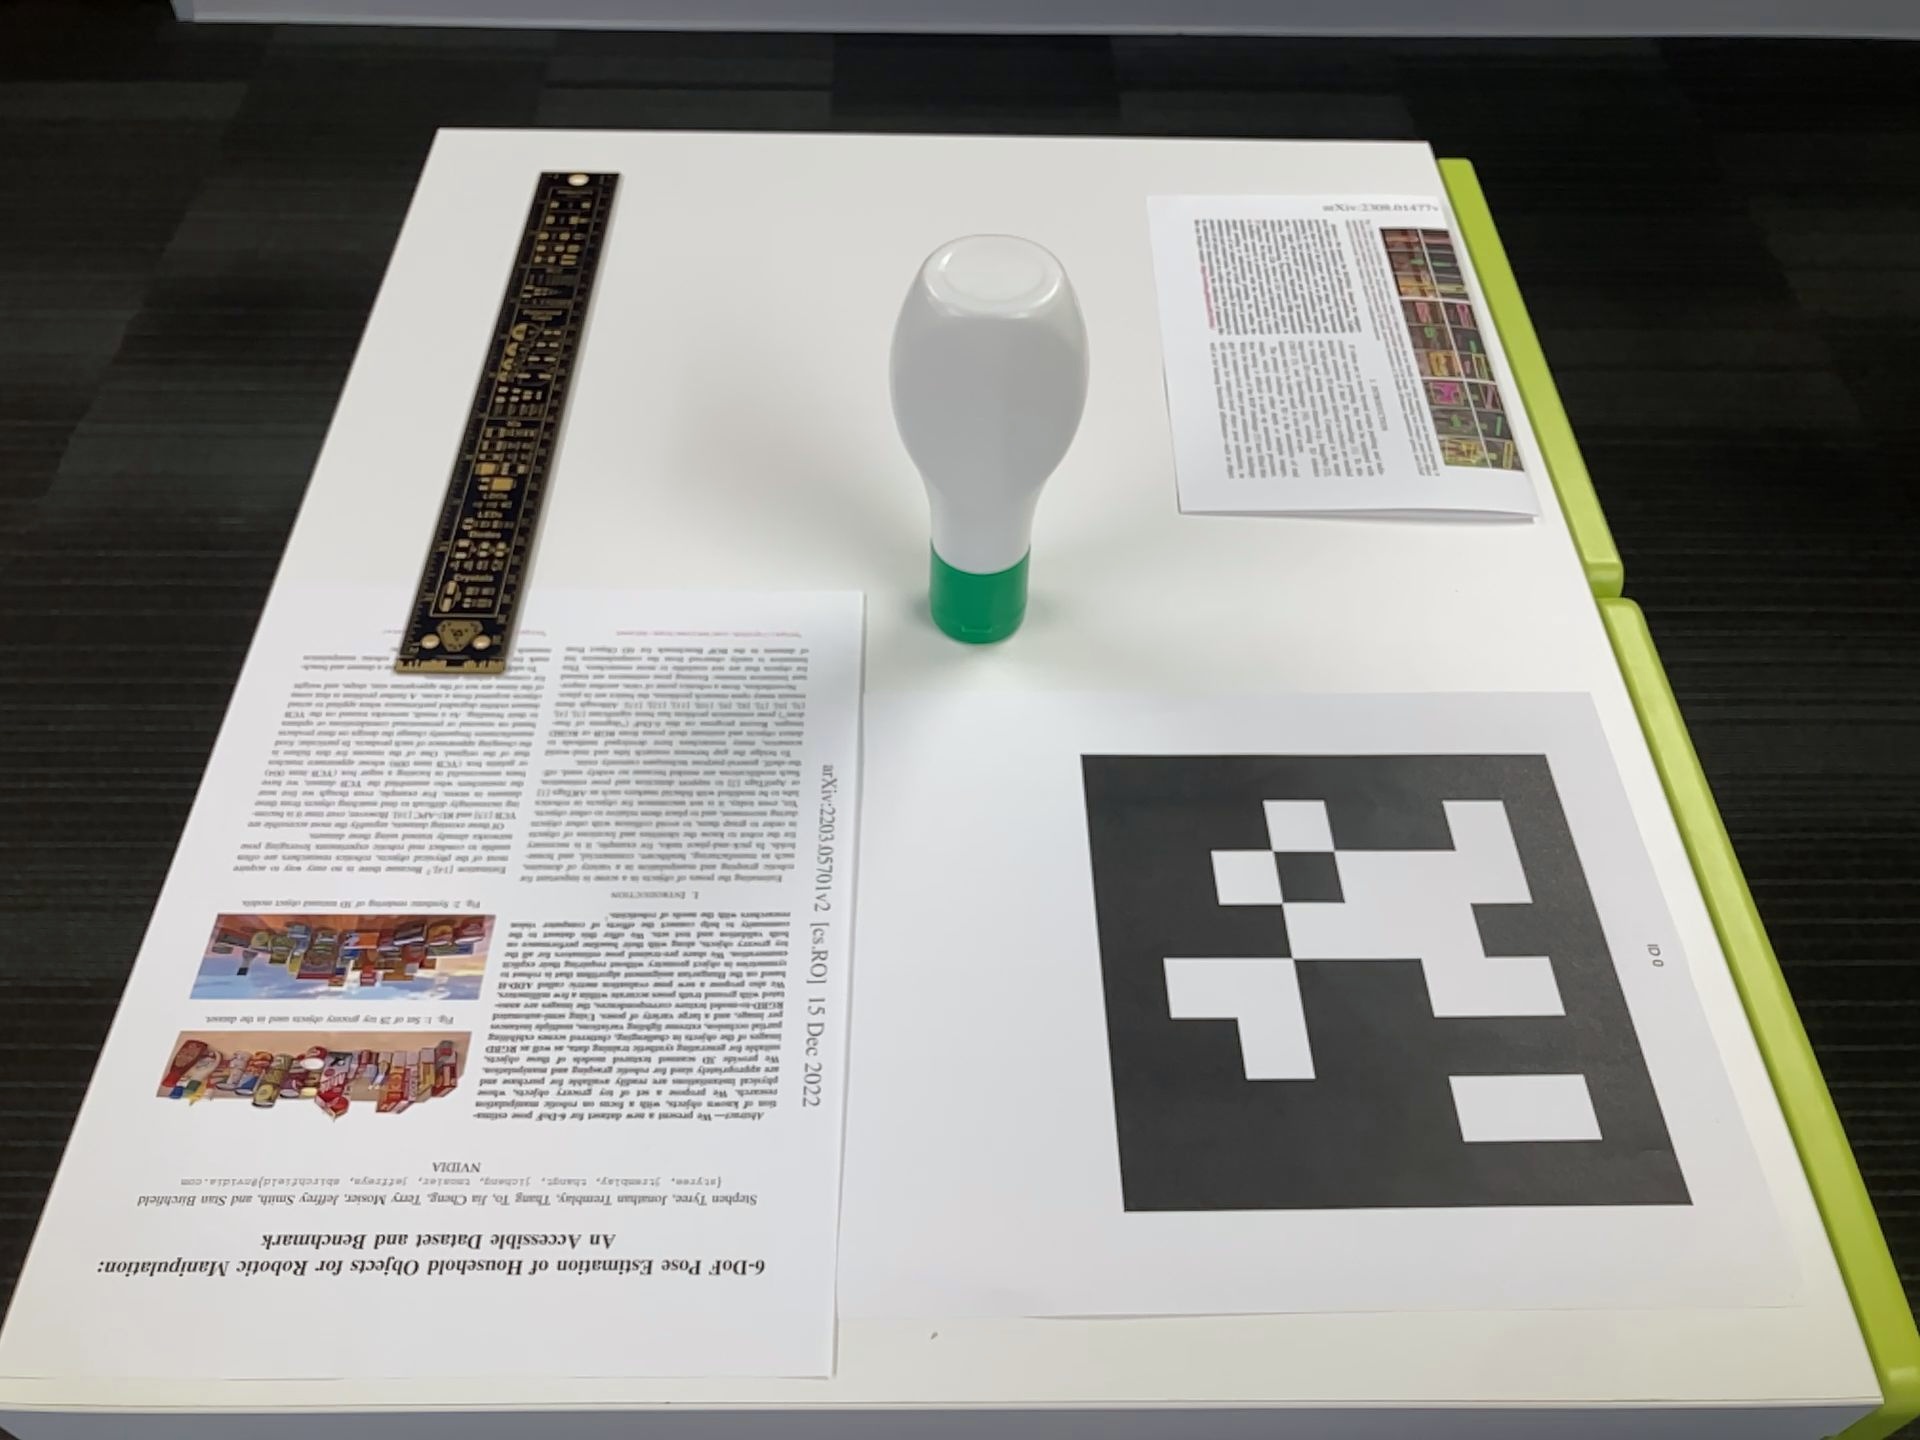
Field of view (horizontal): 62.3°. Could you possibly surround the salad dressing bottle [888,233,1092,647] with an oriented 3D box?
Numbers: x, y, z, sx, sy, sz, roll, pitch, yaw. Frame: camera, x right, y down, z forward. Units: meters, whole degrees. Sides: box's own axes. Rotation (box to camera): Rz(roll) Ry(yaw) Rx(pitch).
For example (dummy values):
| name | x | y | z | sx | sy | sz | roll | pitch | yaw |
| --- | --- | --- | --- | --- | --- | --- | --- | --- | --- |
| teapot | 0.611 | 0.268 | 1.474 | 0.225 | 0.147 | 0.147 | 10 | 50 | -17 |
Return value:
| name | x | y | z | sx | sy | sz | roll | pitch | yaw |
| --- | --- | --- | --- | --- | --- | --- | --- | --- | --- |
| salad dressing bottle | 0.008 | -0.087 | 0.531 | 0.064 | 0.147 | 0.044 | 2 | 50 | 0 |
